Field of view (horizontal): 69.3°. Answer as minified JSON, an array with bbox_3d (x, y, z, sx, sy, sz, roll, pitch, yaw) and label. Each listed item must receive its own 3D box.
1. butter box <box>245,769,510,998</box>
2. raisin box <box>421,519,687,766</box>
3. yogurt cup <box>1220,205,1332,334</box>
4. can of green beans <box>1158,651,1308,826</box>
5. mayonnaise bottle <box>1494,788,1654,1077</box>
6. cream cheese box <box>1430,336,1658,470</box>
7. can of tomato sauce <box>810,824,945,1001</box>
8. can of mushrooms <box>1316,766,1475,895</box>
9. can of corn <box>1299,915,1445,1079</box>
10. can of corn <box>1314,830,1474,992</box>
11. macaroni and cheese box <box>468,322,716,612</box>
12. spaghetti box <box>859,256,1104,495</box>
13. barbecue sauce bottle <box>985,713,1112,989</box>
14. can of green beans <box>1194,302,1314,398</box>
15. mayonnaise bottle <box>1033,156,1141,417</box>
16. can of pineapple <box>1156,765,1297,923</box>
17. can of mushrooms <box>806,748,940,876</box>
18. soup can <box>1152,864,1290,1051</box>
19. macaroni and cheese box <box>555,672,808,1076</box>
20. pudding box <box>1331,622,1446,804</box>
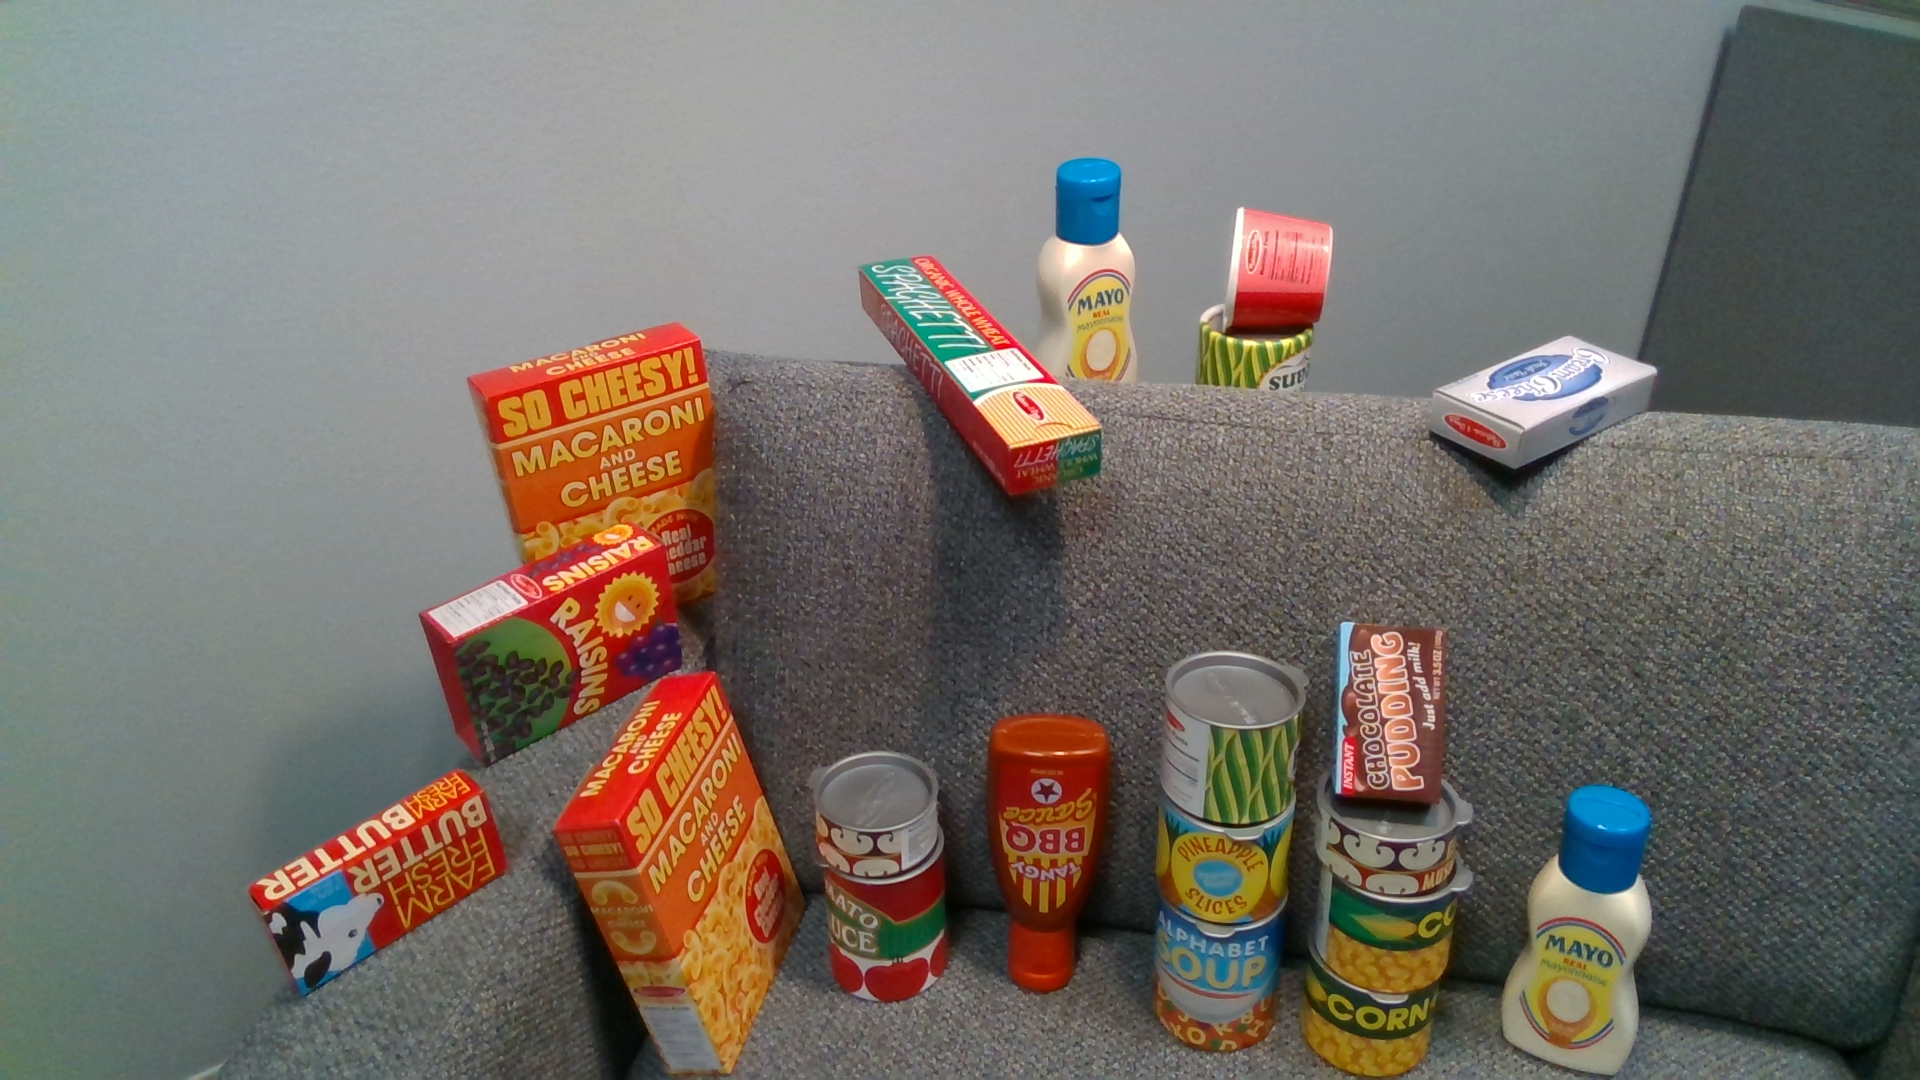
[{"bbox_3d":[-0.258,0.152,0.623,0.104,0.052,0.024,-31,40,-34],"label":"butter box"},{"bbox_3d":[-0.212,0.052,0.741,0.124,0.085,0.040,-28,41,-33],"label":"raisin box"},{"bbox_3d":[0.178,-0.151,0.781,0.054,0.072,0.072,7,1,9],"label":"yogurt cup"},{"bbox_3d":[0.129,0.095,0.666,0.071,0.057,0.071,-1,27,1],"label":"can of green beans"},{"bbox_3d":[0.304,0.191,0.680,0.065,0.147,0.041,13,29,26],"label":"mayonnaise bottle"},{"bbox_3d":[0.286,-0.069,0.681,0.104,0.024,0.053,-21,38,-27],"label":"cream cheese box"},{"bbox_3d":[-0.043,0.195,0.746,0.071,0.082,0.071,0,26,0],"label":"can of tomato sauce"},{"bbox_3d":[0.207,0.137,0.664,0.071,0.033,0.071,-2,26,1],"label":"can of mushrooms"},{"bbox_3d":[0.208,0.230,0.706,0.071,0.058,0.071,-1,26,0],"label":"can of corn"},{"bbox_3d":[0.211,0.178,0.681,0.071,0.058,0.071,-2,27,1],"label":"can of corn"},{"bbox_3d":[-0.199,-0.029,0.798,0.124,0.165,0.040,-21,35,-27],"label":"macaroni and cheese box"},{"bbox_3d":[0.004,-0.096,0.736,0.050,0.028,0.251,-12,33,-15],"label":"spaghetti box"},{"bbox_3d":[0.045,0.165,0.729,0.065,0.148,0.044,2,22,4],"label":"barbecue sauce bottle"},{"bbox_3d":[0.170,-0.102,0.809,0.071,0.057,0.071,-2,33,1],"label":"can of green beans"},{"bbox_3d":[0.071,-0.141,0.790,0.065,0.147,0.041,-15,36,-17],"label":"mayonnaise bottle"},{"bbox_3d":[0.131,0.147,0.688,0.071,0.057,0.071,-1,27,1],"label":"can of pineapple"},{"bbox_3d":[-0.046,0.141,0.726,0.071,0.033,0.071,-1,30,1],"label":"can of mushrooms"},{"bbox_3d":[0.132,0.211,0.715,0.071,0.083,0.071,-1,26,1],"label":"soup can"},{"bbox_3d":[-0.140,0.173,0.724,0.040,0.165,0.124,-7,27,18],"label":"macaroni and cheese box"},{"bbox_3d":[0.205,0.082,0.666,0.050,0.084,0.030,3,-8,13],"label":"pudding box"}]
